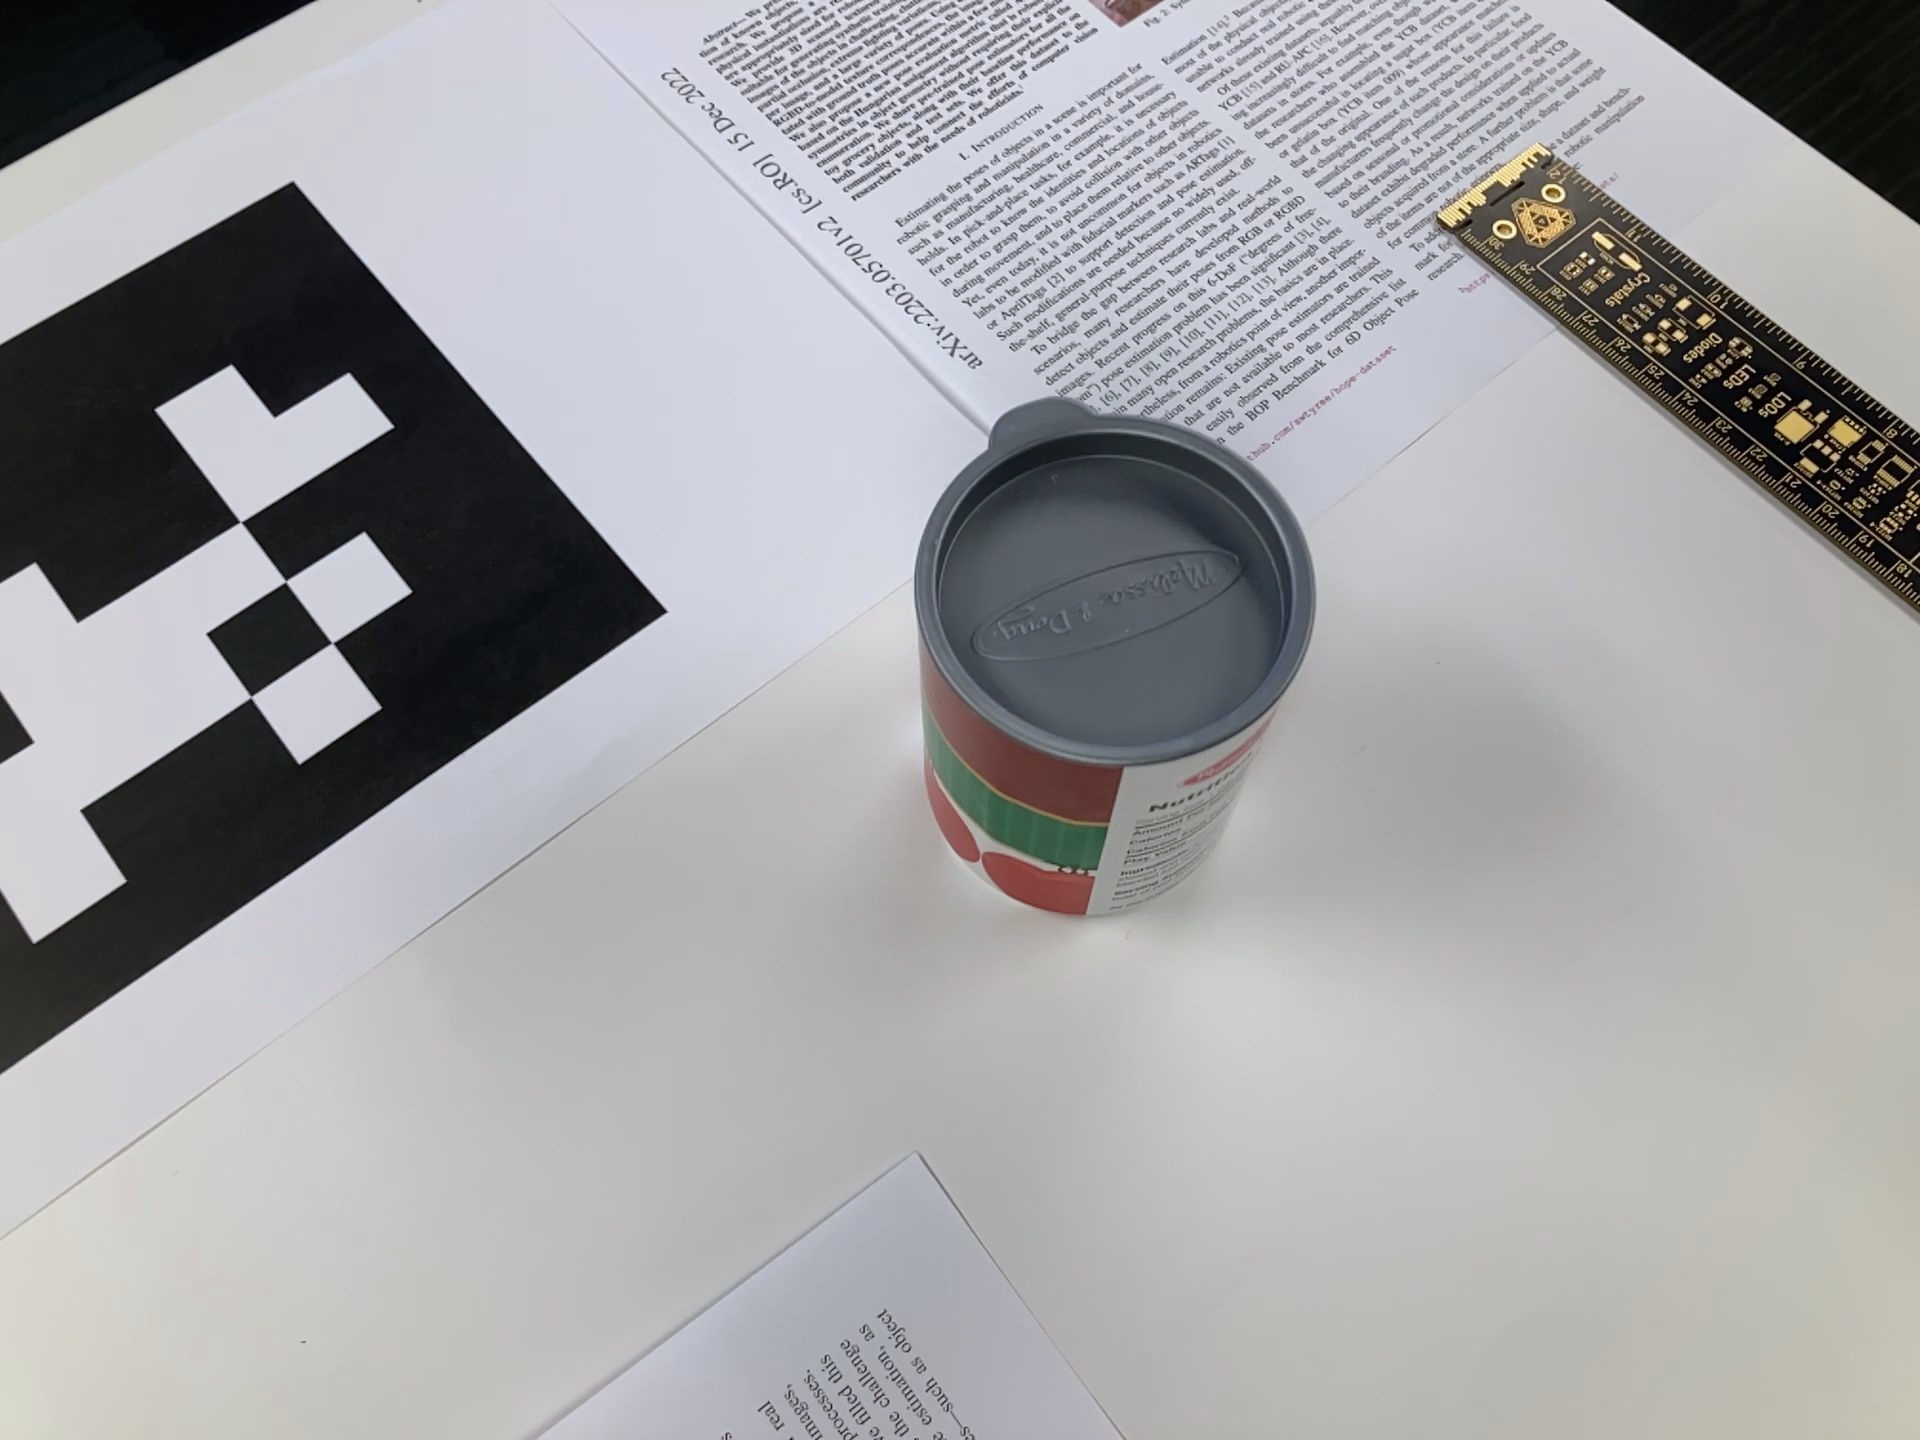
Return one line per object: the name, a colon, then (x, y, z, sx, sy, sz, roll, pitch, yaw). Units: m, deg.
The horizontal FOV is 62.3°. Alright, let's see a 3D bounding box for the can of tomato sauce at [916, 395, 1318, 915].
can of tomato sauce: (0.024, -0.008, 0.299, 0.071, 0.083, 0.071, 0, 65, 0)
